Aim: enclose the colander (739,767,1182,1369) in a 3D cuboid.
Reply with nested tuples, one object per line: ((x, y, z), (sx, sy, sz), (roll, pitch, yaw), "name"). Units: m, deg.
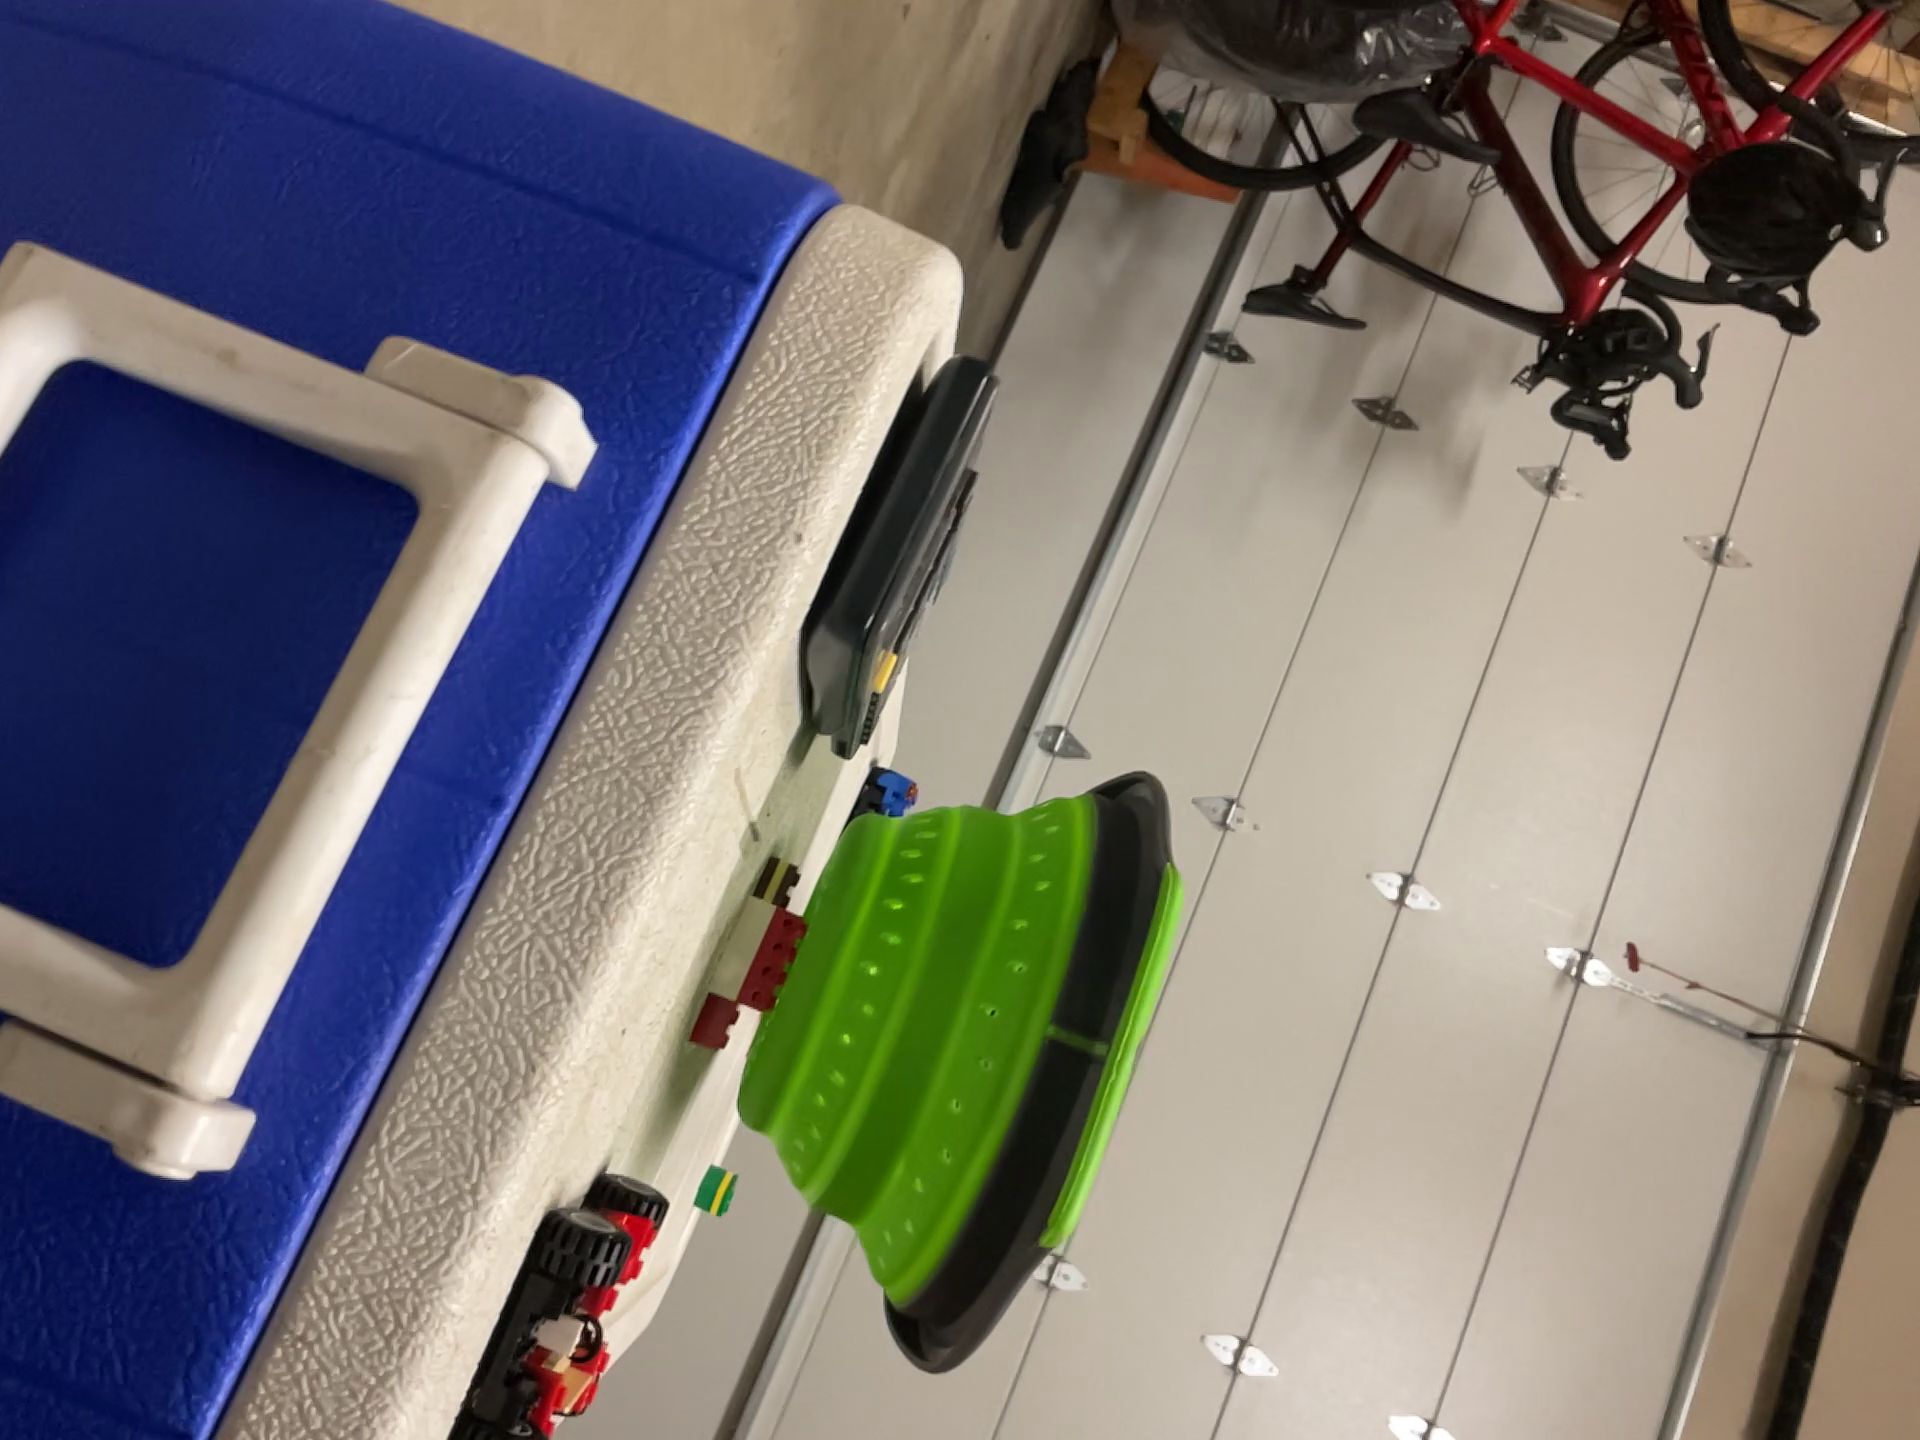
((-0.027, 0.115, 0.608), (0.396, 0.094, 0.204), (126, -15, -74), "colander")
